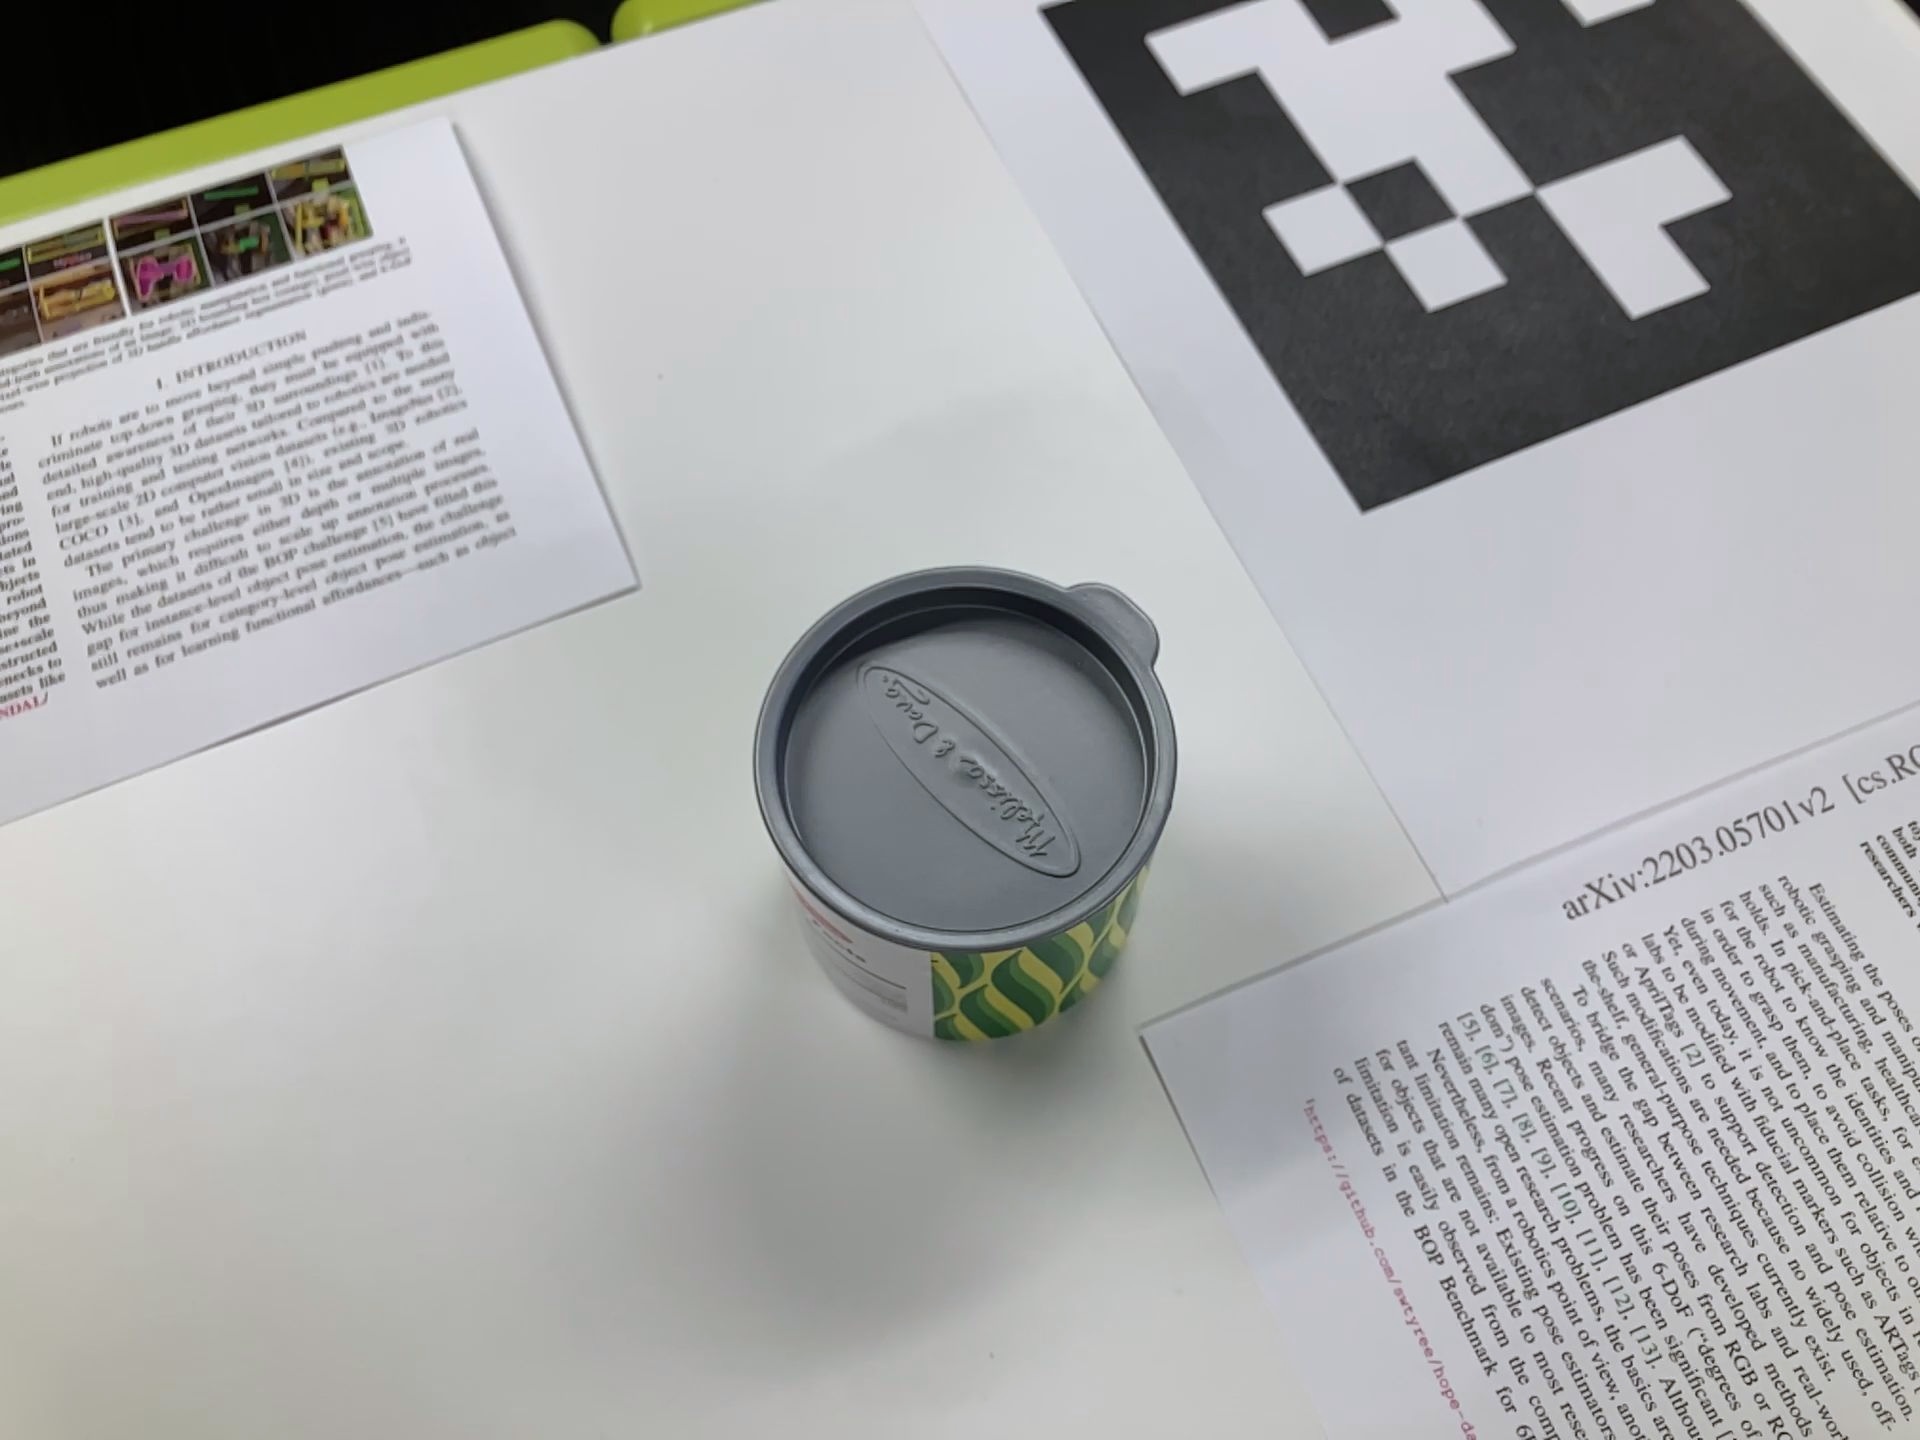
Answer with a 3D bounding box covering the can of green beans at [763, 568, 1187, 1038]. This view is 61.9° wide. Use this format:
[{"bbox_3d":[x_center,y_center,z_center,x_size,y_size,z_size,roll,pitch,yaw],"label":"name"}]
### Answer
[{"bbox_3d":[0.002,0.016,0.276,0.071,0.058,0.071,0,66,0],"label":"can of green beans"}]
